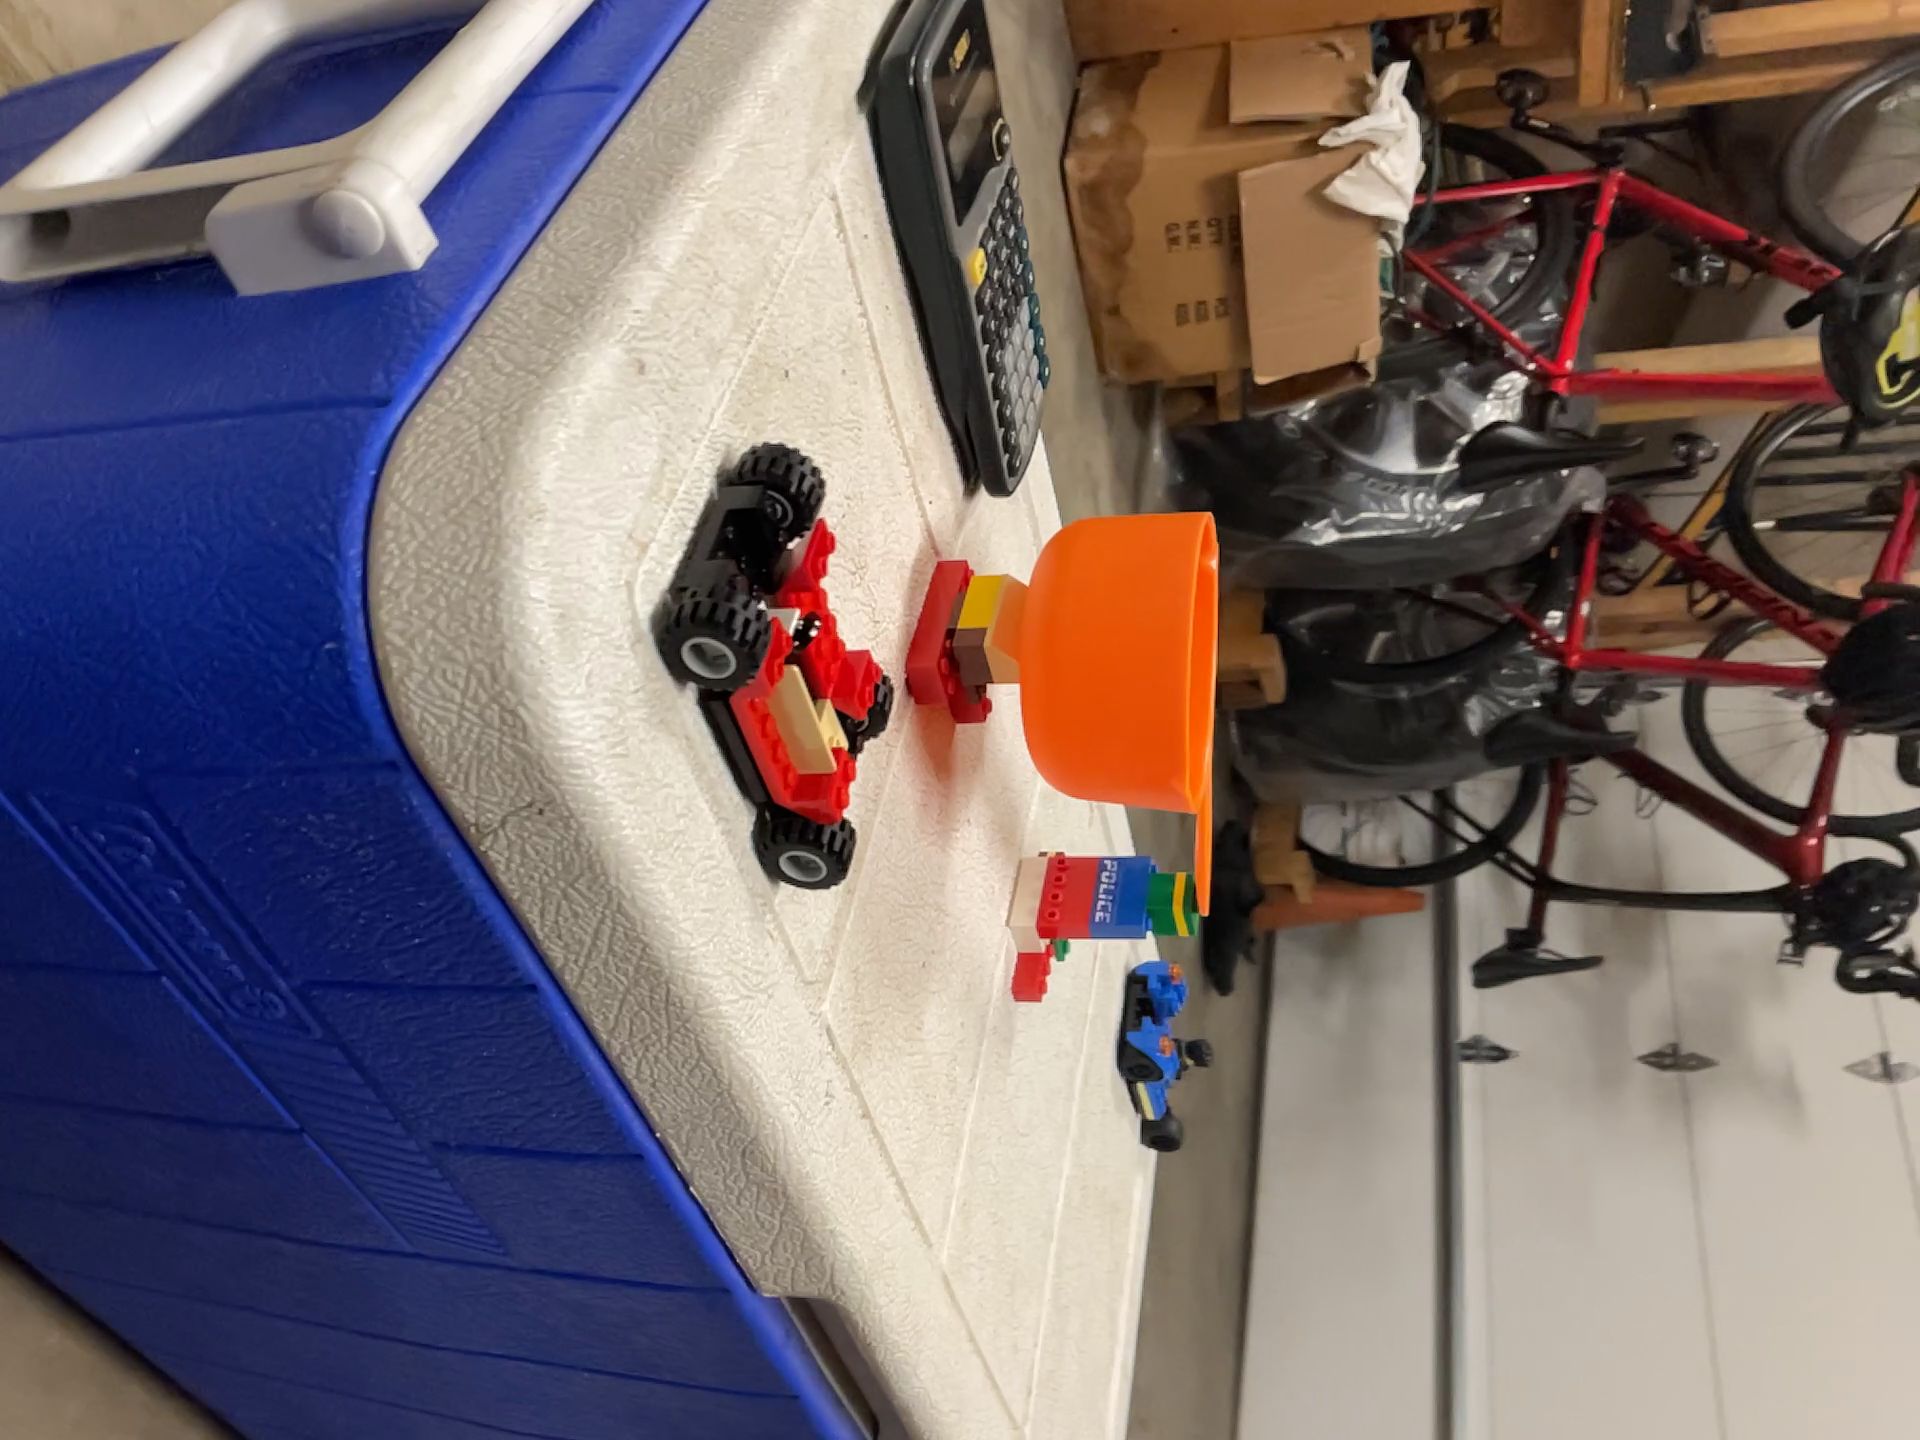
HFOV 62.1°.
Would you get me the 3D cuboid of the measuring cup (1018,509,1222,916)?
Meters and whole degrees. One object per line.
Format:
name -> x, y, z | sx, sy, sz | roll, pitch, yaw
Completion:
measuring cup -> 0.054, 0.009, 0.499 | 0.173, 0.052, 0.095 | 77, 20, -49
